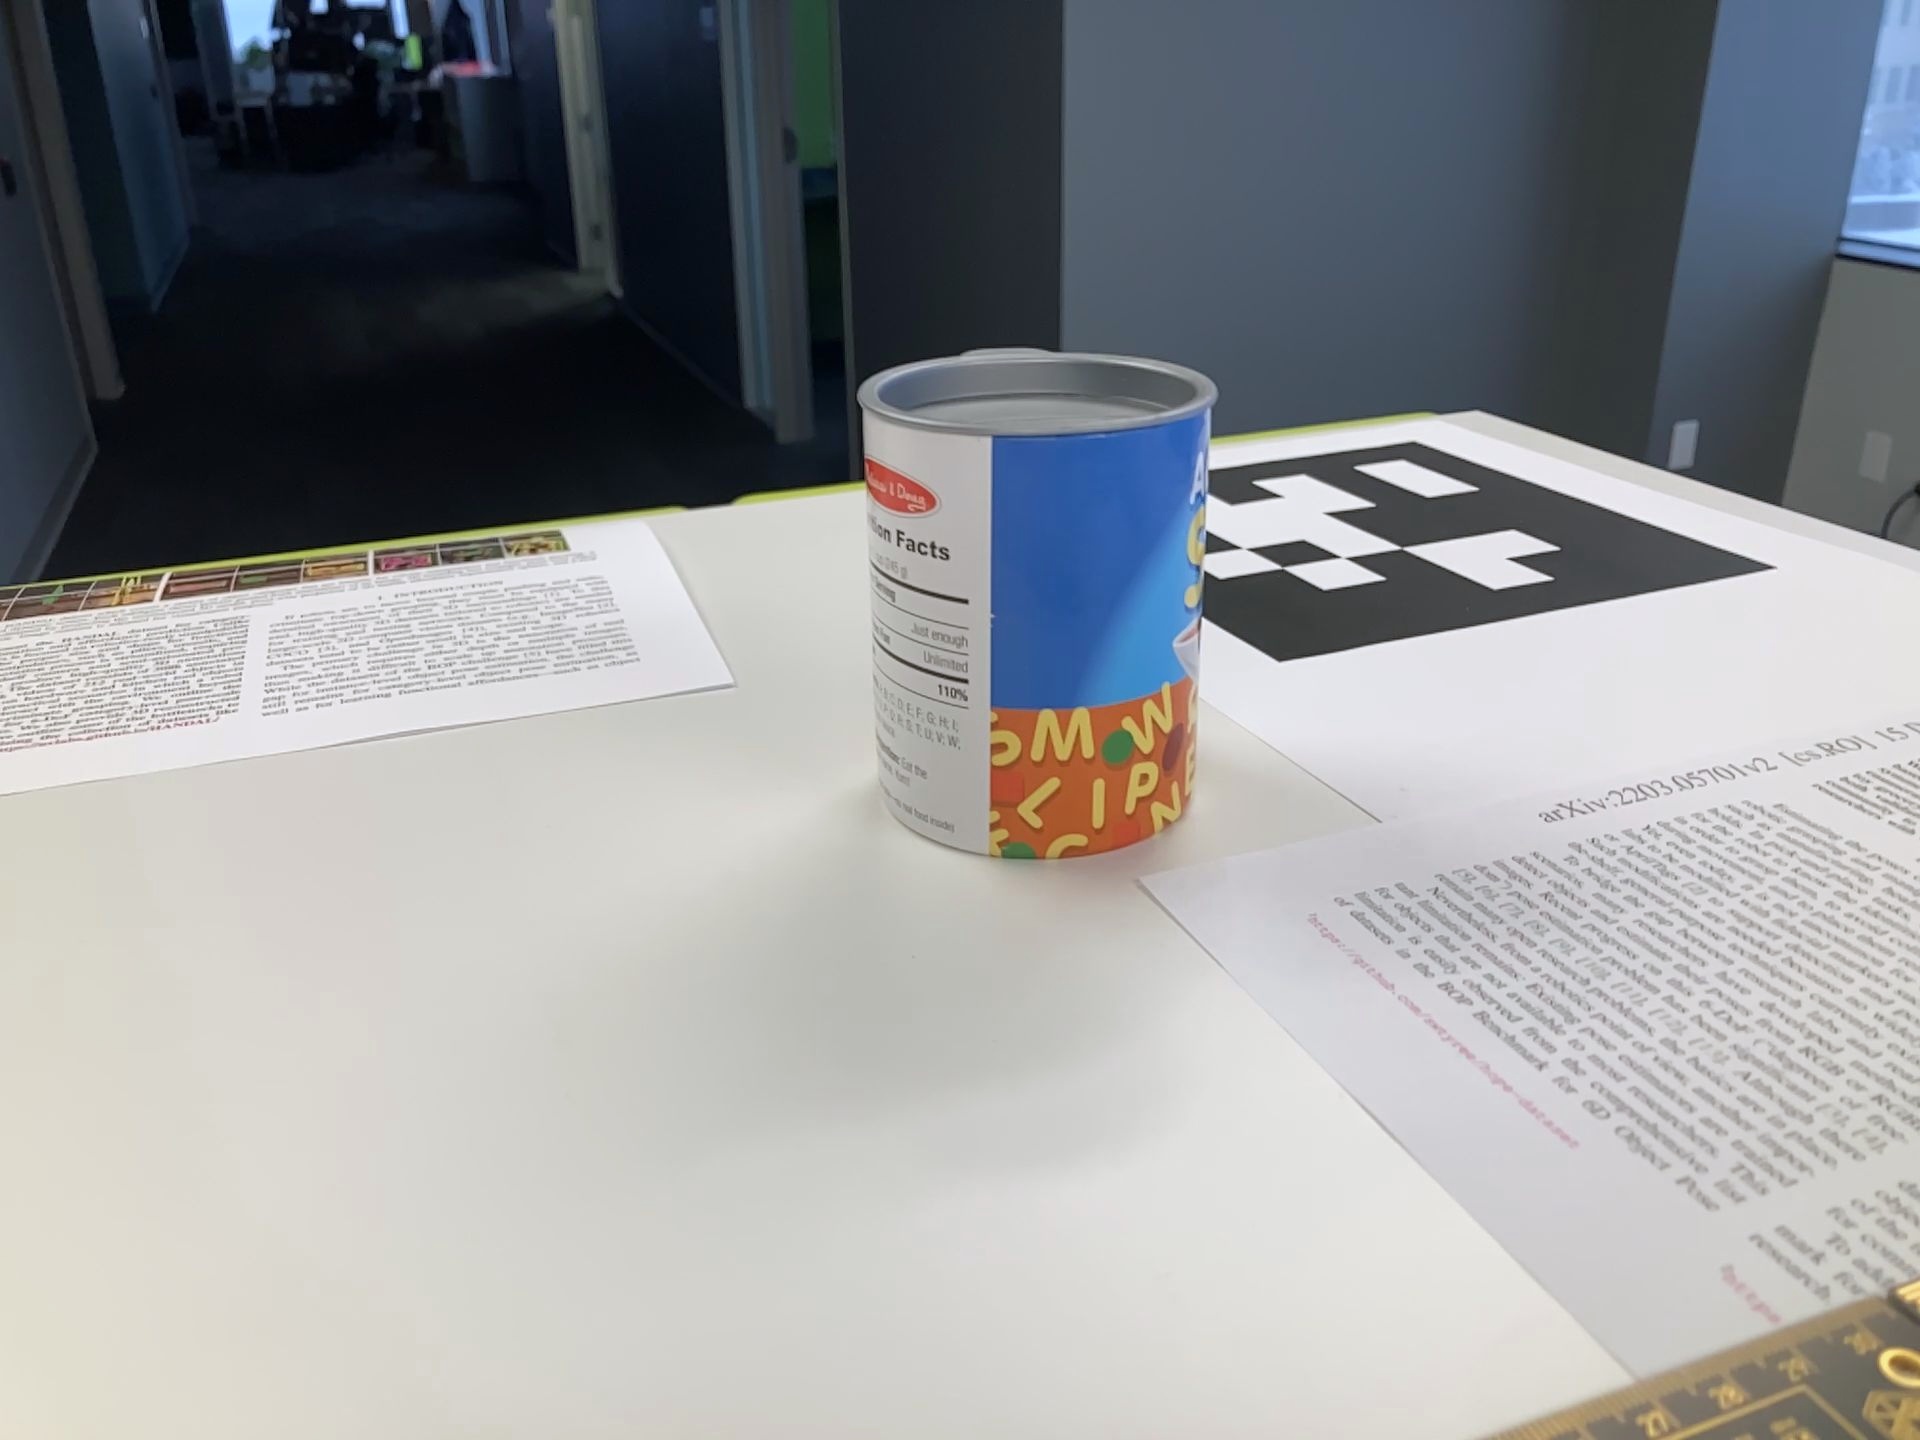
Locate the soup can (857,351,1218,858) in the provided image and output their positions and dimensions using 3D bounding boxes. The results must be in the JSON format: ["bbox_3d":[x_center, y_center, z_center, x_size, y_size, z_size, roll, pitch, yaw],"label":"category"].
[{"bbox_3d":[0.017,-0.025,0.313,0.071,0.084,0.071,-1,24,1],"label":"soup can"}]
